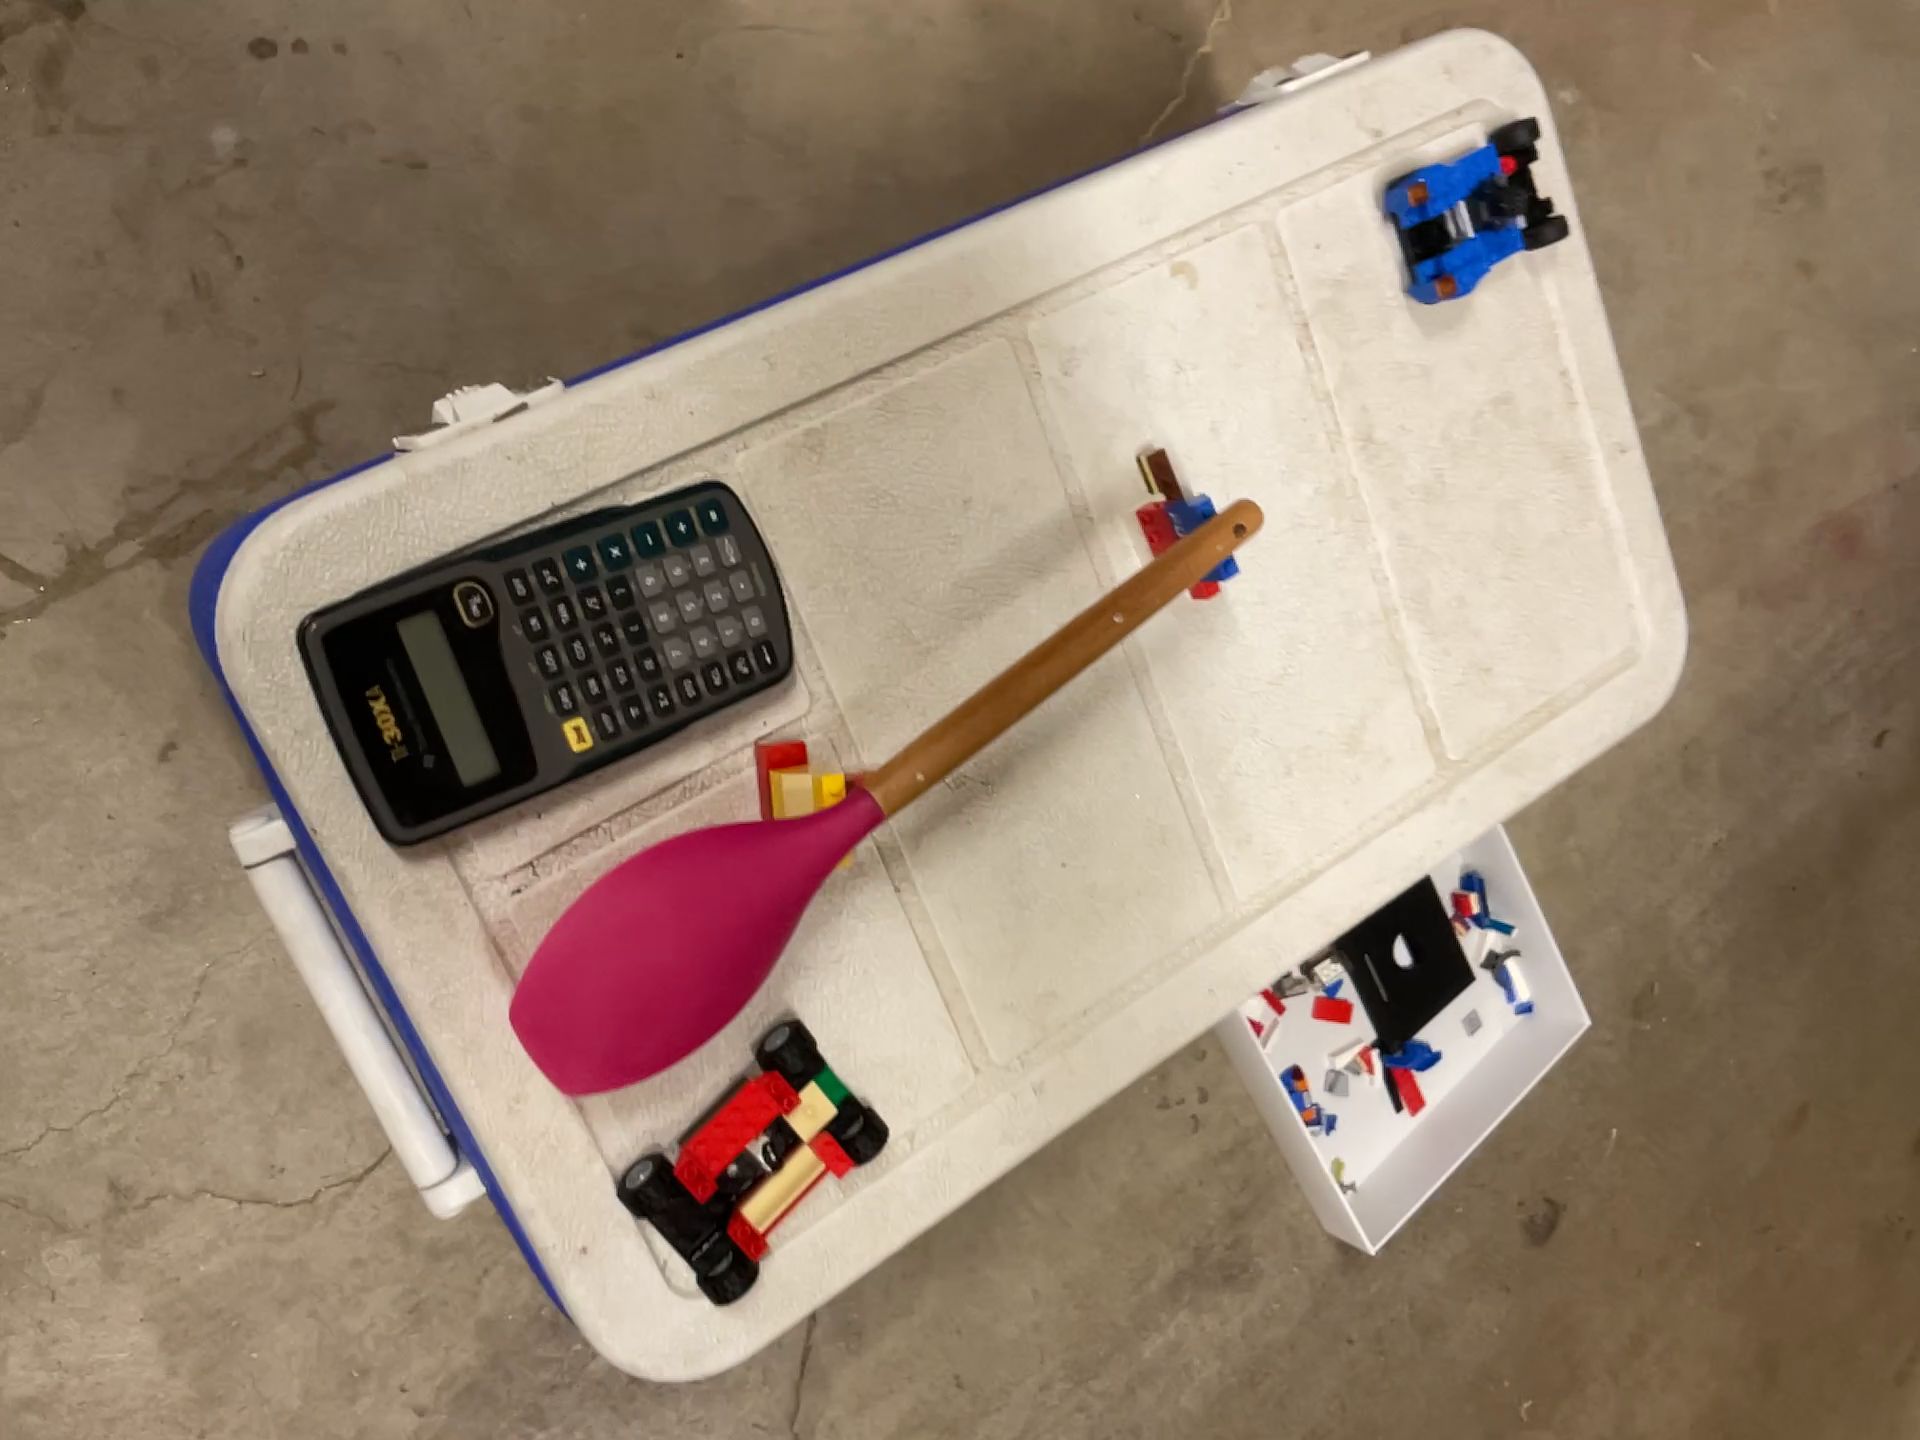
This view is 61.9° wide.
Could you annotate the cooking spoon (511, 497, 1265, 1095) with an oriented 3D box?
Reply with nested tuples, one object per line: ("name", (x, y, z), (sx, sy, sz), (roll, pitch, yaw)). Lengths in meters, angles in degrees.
("cooking spoon", (-0.010, 0.013, 0.543), (0.319, 0.017, 0.068), (-38, 114, -19))
